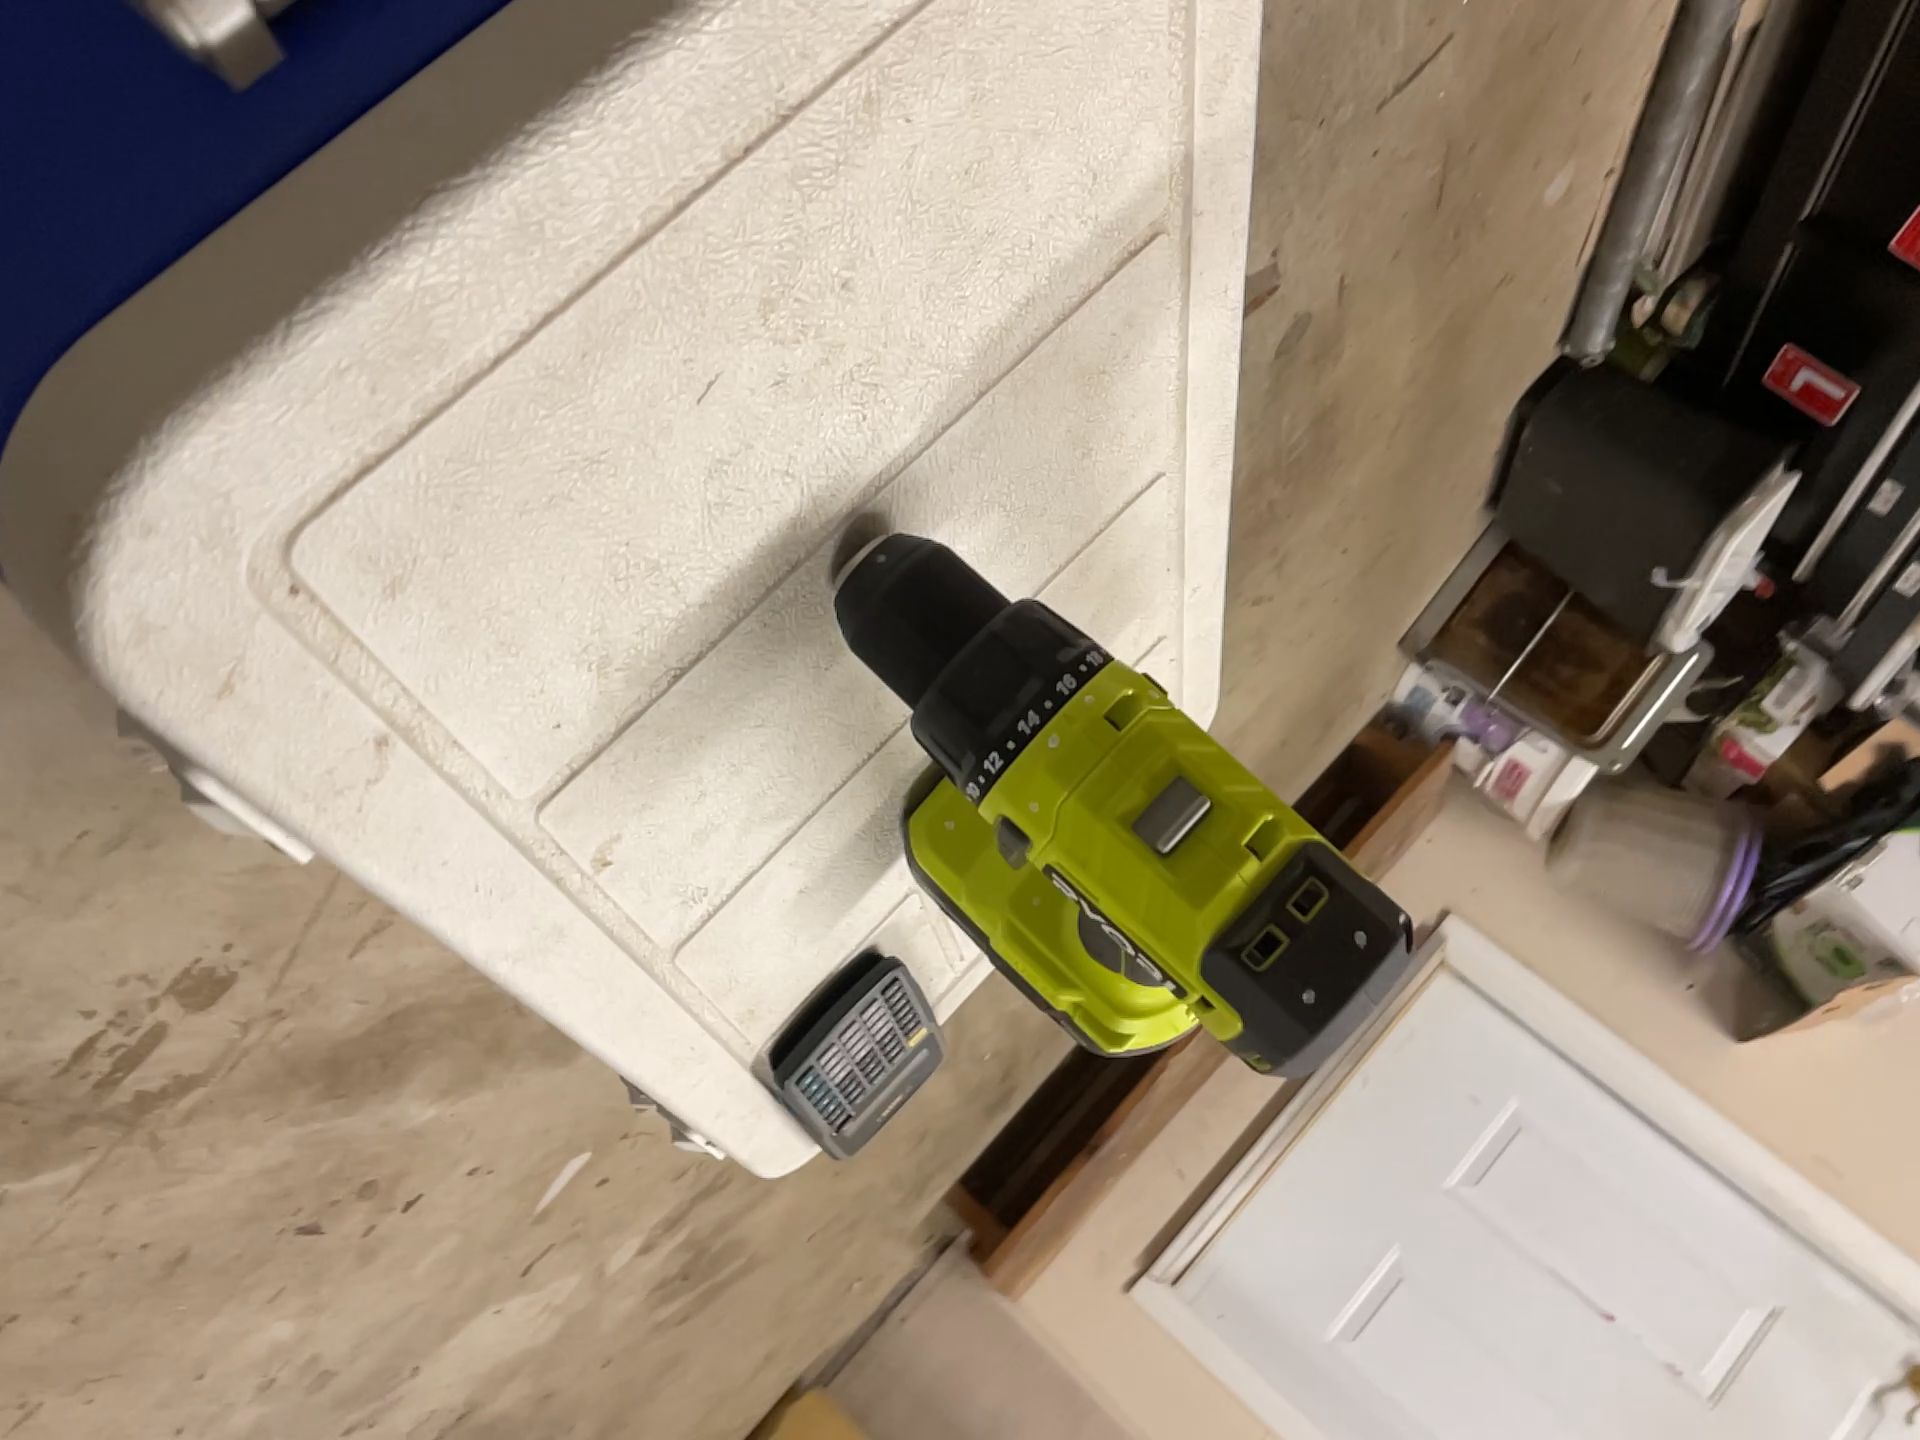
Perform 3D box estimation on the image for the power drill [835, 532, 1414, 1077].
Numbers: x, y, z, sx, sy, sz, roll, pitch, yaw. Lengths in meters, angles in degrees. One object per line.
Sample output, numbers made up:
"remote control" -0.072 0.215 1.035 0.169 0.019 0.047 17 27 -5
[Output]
"power drill" 0.037 0.036 0.537 0.080 0.190 0.228 -46 172 -11
